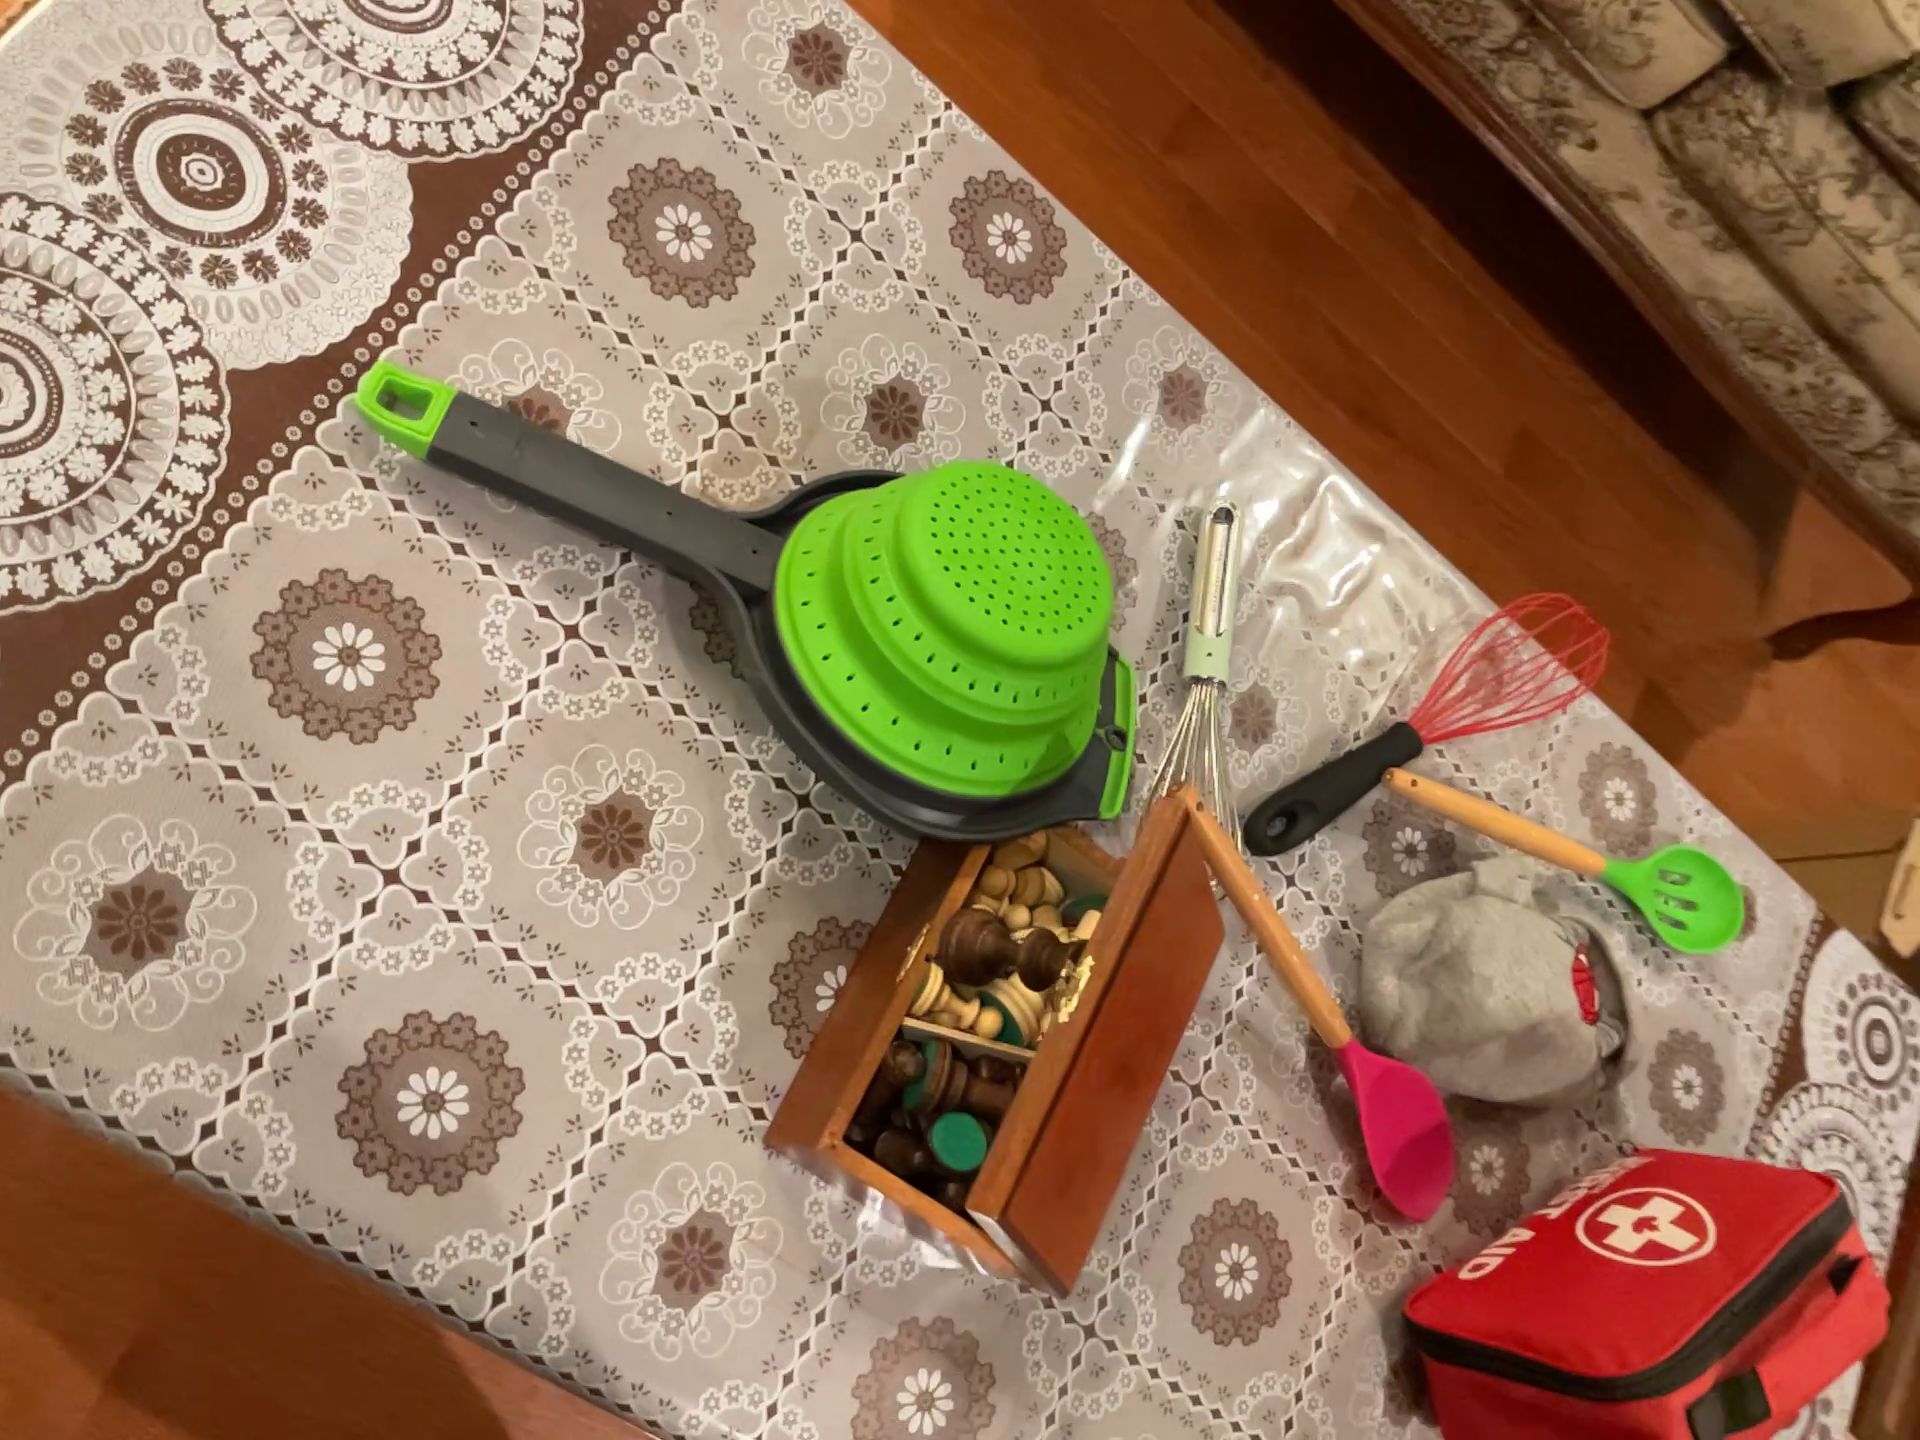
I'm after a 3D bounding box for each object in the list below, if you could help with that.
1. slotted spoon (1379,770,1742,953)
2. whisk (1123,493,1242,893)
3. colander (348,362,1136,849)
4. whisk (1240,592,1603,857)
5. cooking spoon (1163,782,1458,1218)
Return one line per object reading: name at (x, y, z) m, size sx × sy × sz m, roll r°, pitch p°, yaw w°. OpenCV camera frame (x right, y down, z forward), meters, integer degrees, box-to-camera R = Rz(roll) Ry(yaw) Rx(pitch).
slotted spoon at (0.373, 0.081, 0.980) m, size 0.313 × 0.031 × 0.070 m, roll 20°, pitch 72°, yaw -28°
whisk at (0.130, -0.012, 0.870) m, size 0.057 × 0.059 × 0.246 m, roll 47°, pitch 49°, yaw -62°
colander at (-0.070, -0.083, 0.714) m, size 0.397 × 0.094 × 0.205 m, roll 24°, pitch 50°, yaw -16°
whisk at (0.277, 0.003, 0.939) m, size 0.296 × 0.073 × 0.073 m, roll -29°, pitch 102°, yaw -24°
cooking spoon at (0.192, 0.153, 0.852) m, size 0.069 × 0.017 × 0.318 m, roll -49°, pitch 116°, yaw -28°
